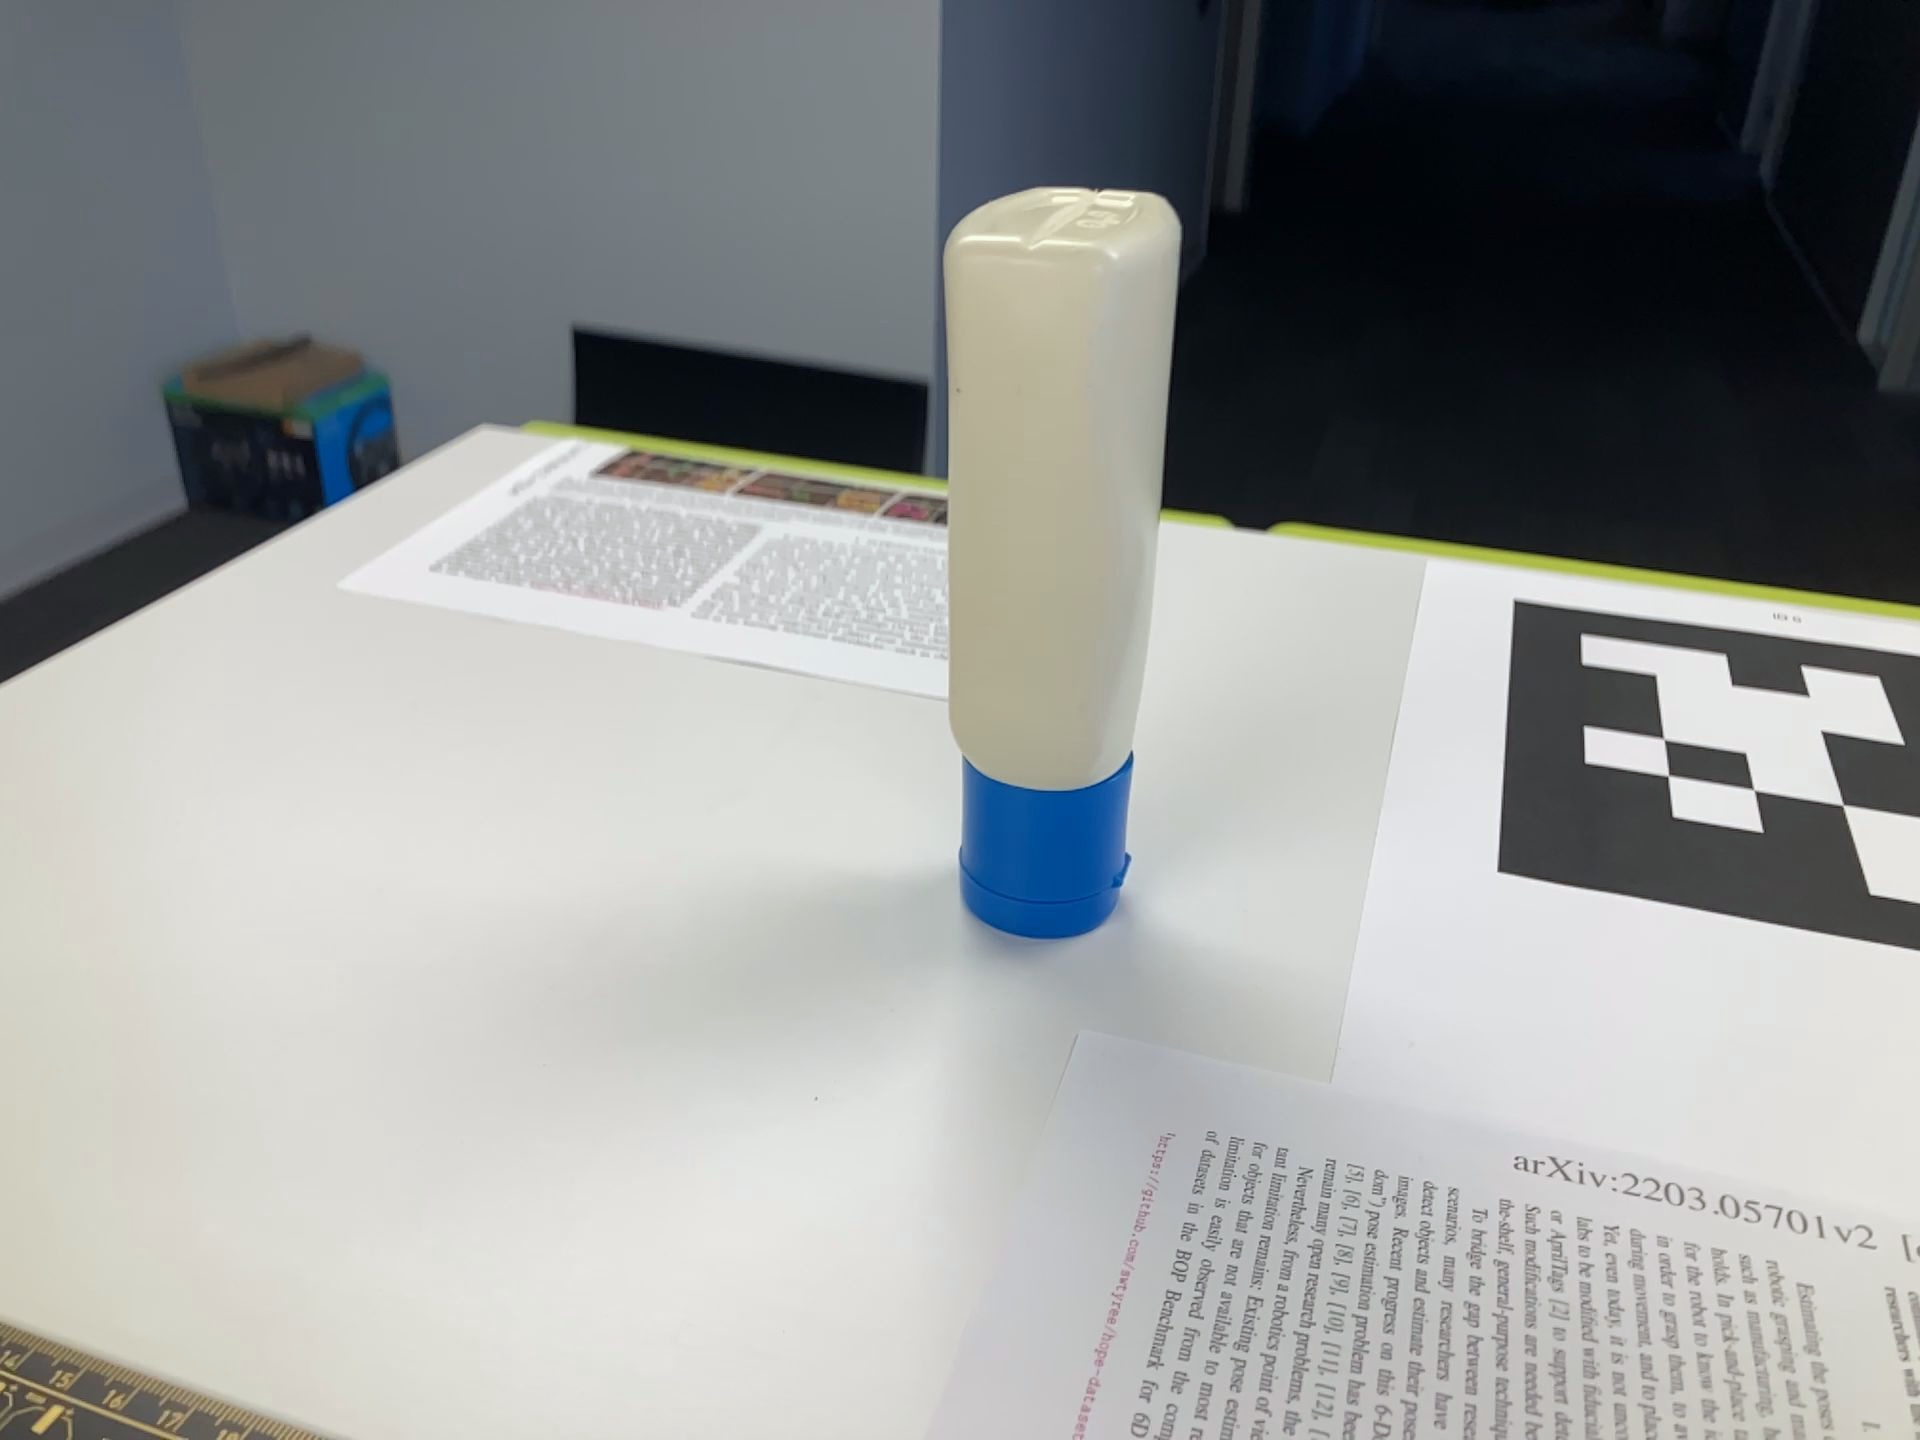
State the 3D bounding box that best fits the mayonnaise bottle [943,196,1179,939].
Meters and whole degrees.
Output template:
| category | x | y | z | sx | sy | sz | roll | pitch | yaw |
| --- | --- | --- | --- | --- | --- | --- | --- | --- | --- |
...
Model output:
| category | x | y | z | sx | sy | sz | roll | pitch | yaw |
| --- | --- | --- | --- | --- | --- | --- | --- | --- | --- |
| mayonnaise bottle | 0.018 | -0.026 | 0.323 | 0.041 | 0.148 | 0.065 | 9 | 29 | 14 |
